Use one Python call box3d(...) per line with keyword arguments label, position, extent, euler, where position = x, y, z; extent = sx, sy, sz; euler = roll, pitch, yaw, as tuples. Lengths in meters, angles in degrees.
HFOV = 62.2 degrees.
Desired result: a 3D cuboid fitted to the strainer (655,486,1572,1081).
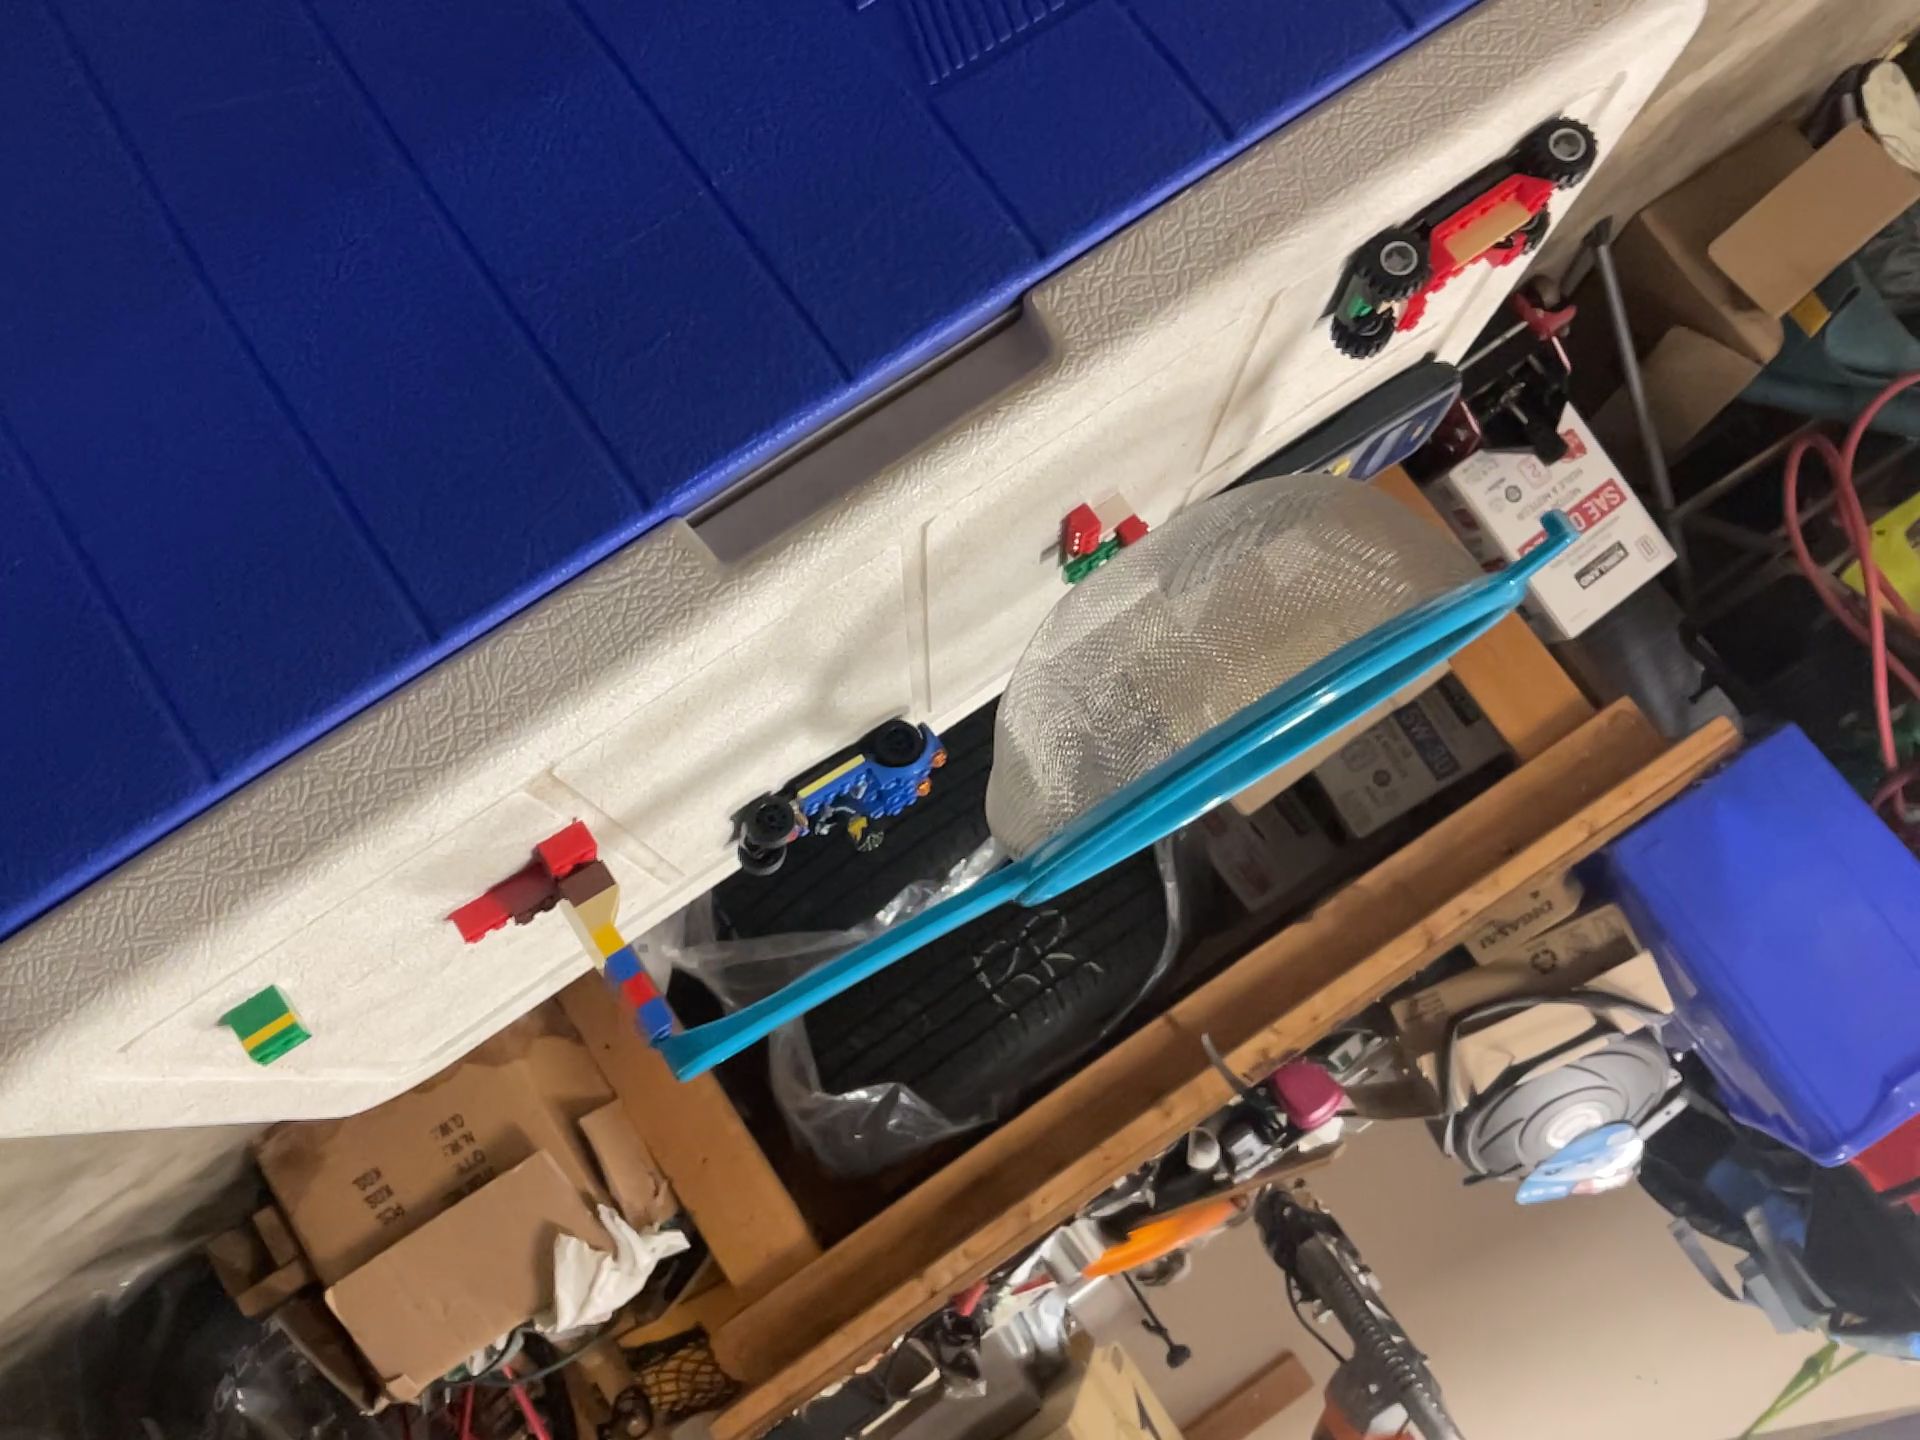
box3d(label="strainer", position=(0.032, 0.006, 0.570), extent=(0.340, 0.095, 0.211), euler=(-27, 170, -14))
